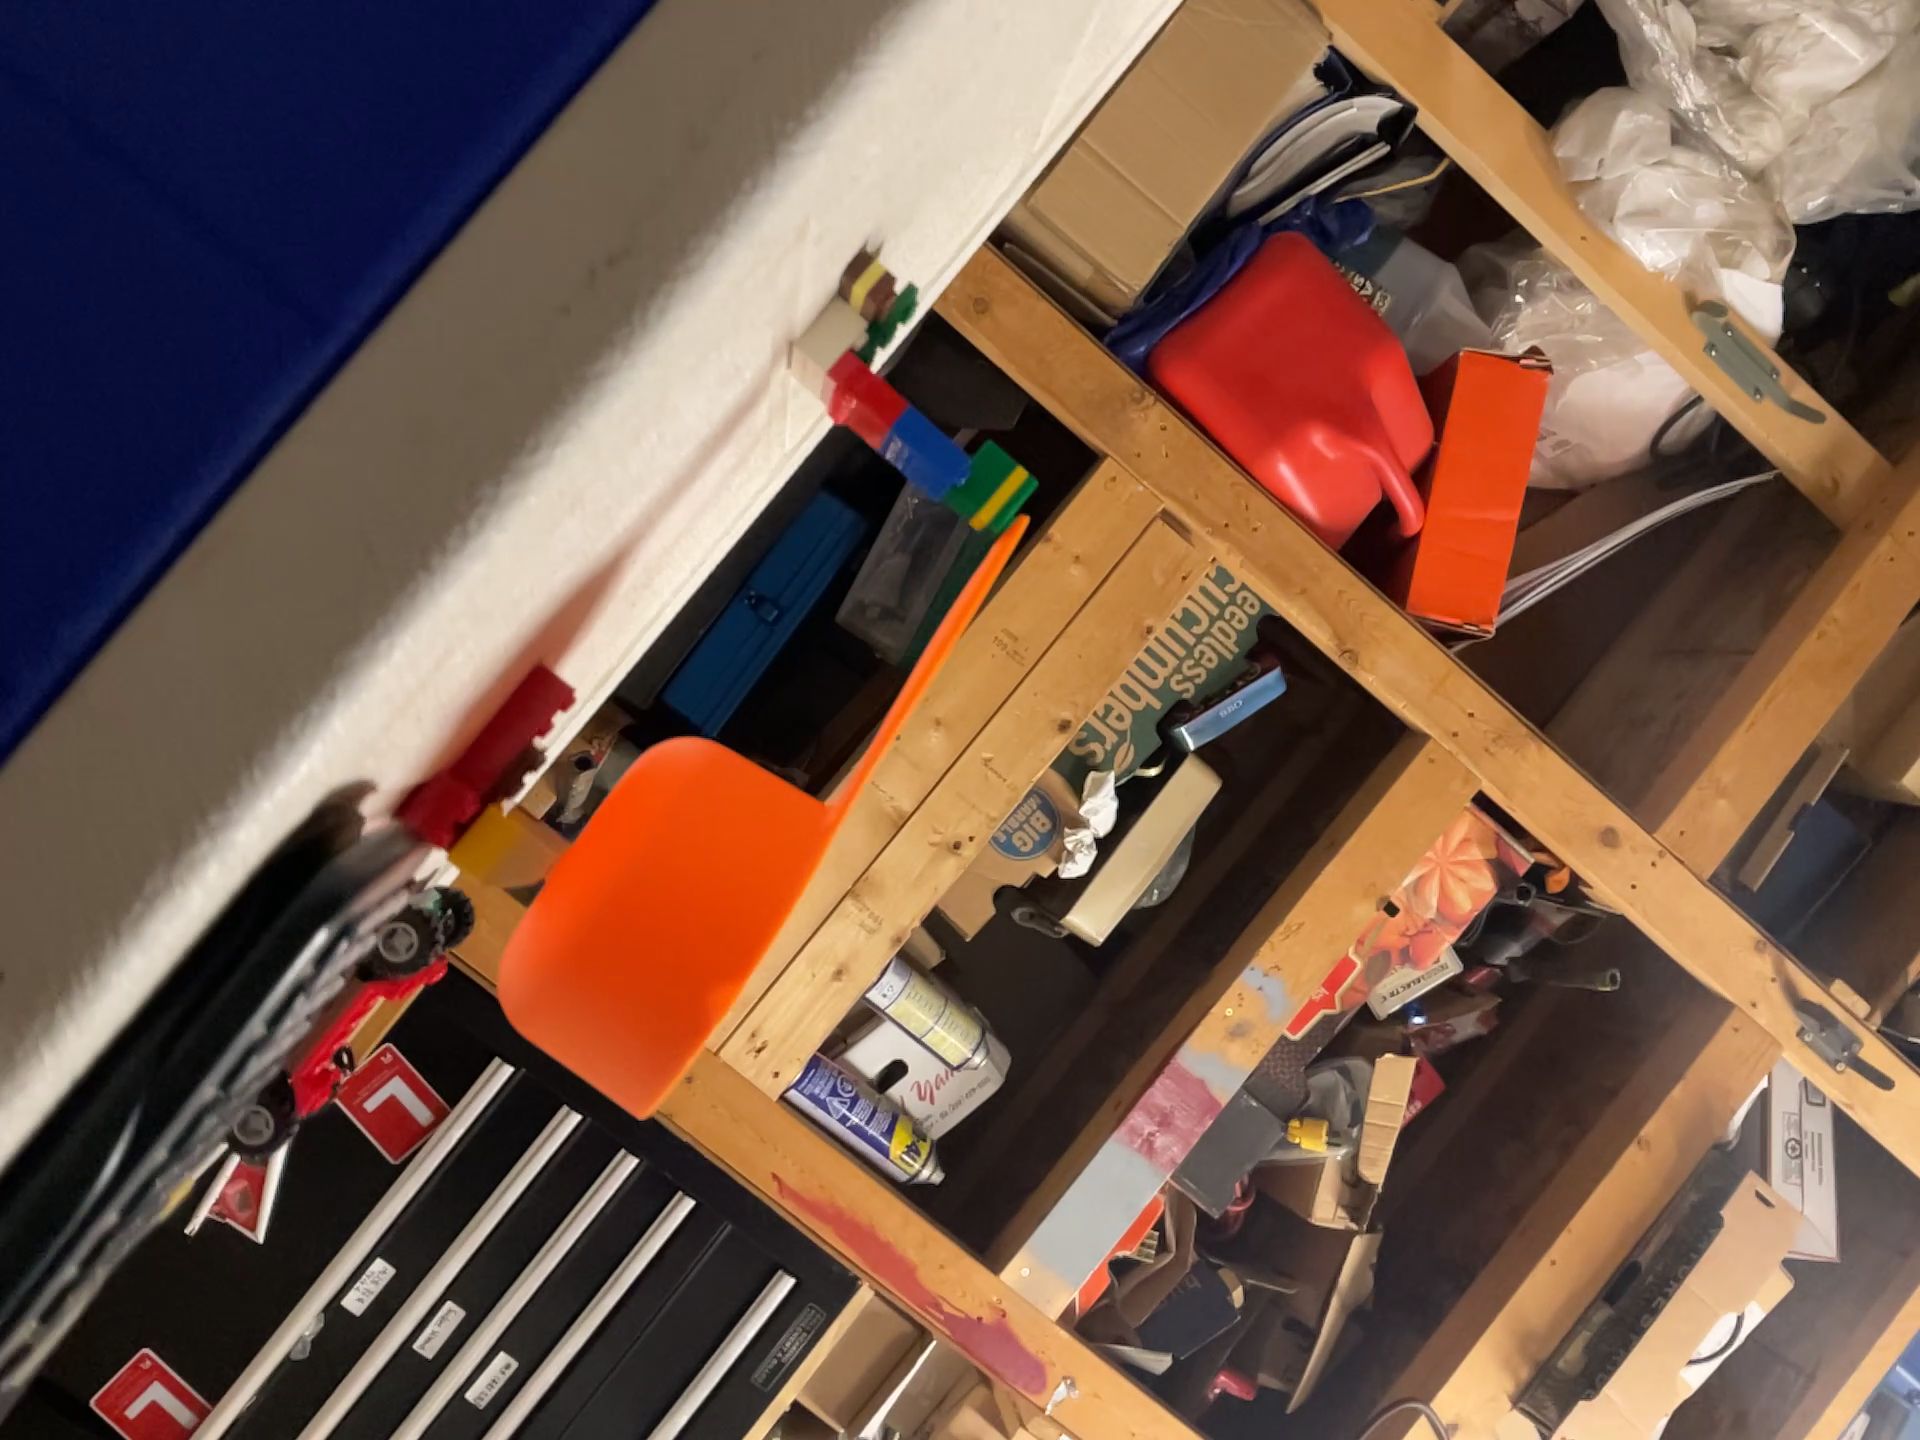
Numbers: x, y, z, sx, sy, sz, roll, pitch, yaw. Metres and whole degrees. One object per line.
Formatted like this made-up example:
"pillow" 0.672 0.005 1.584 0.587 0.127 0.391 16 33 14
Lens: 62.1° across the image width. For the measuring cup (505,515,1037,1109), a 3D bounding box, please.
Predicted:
"measuring cup" -0.048 0.010 0.393 0.173 0.052 0.095 -56 -174 1
